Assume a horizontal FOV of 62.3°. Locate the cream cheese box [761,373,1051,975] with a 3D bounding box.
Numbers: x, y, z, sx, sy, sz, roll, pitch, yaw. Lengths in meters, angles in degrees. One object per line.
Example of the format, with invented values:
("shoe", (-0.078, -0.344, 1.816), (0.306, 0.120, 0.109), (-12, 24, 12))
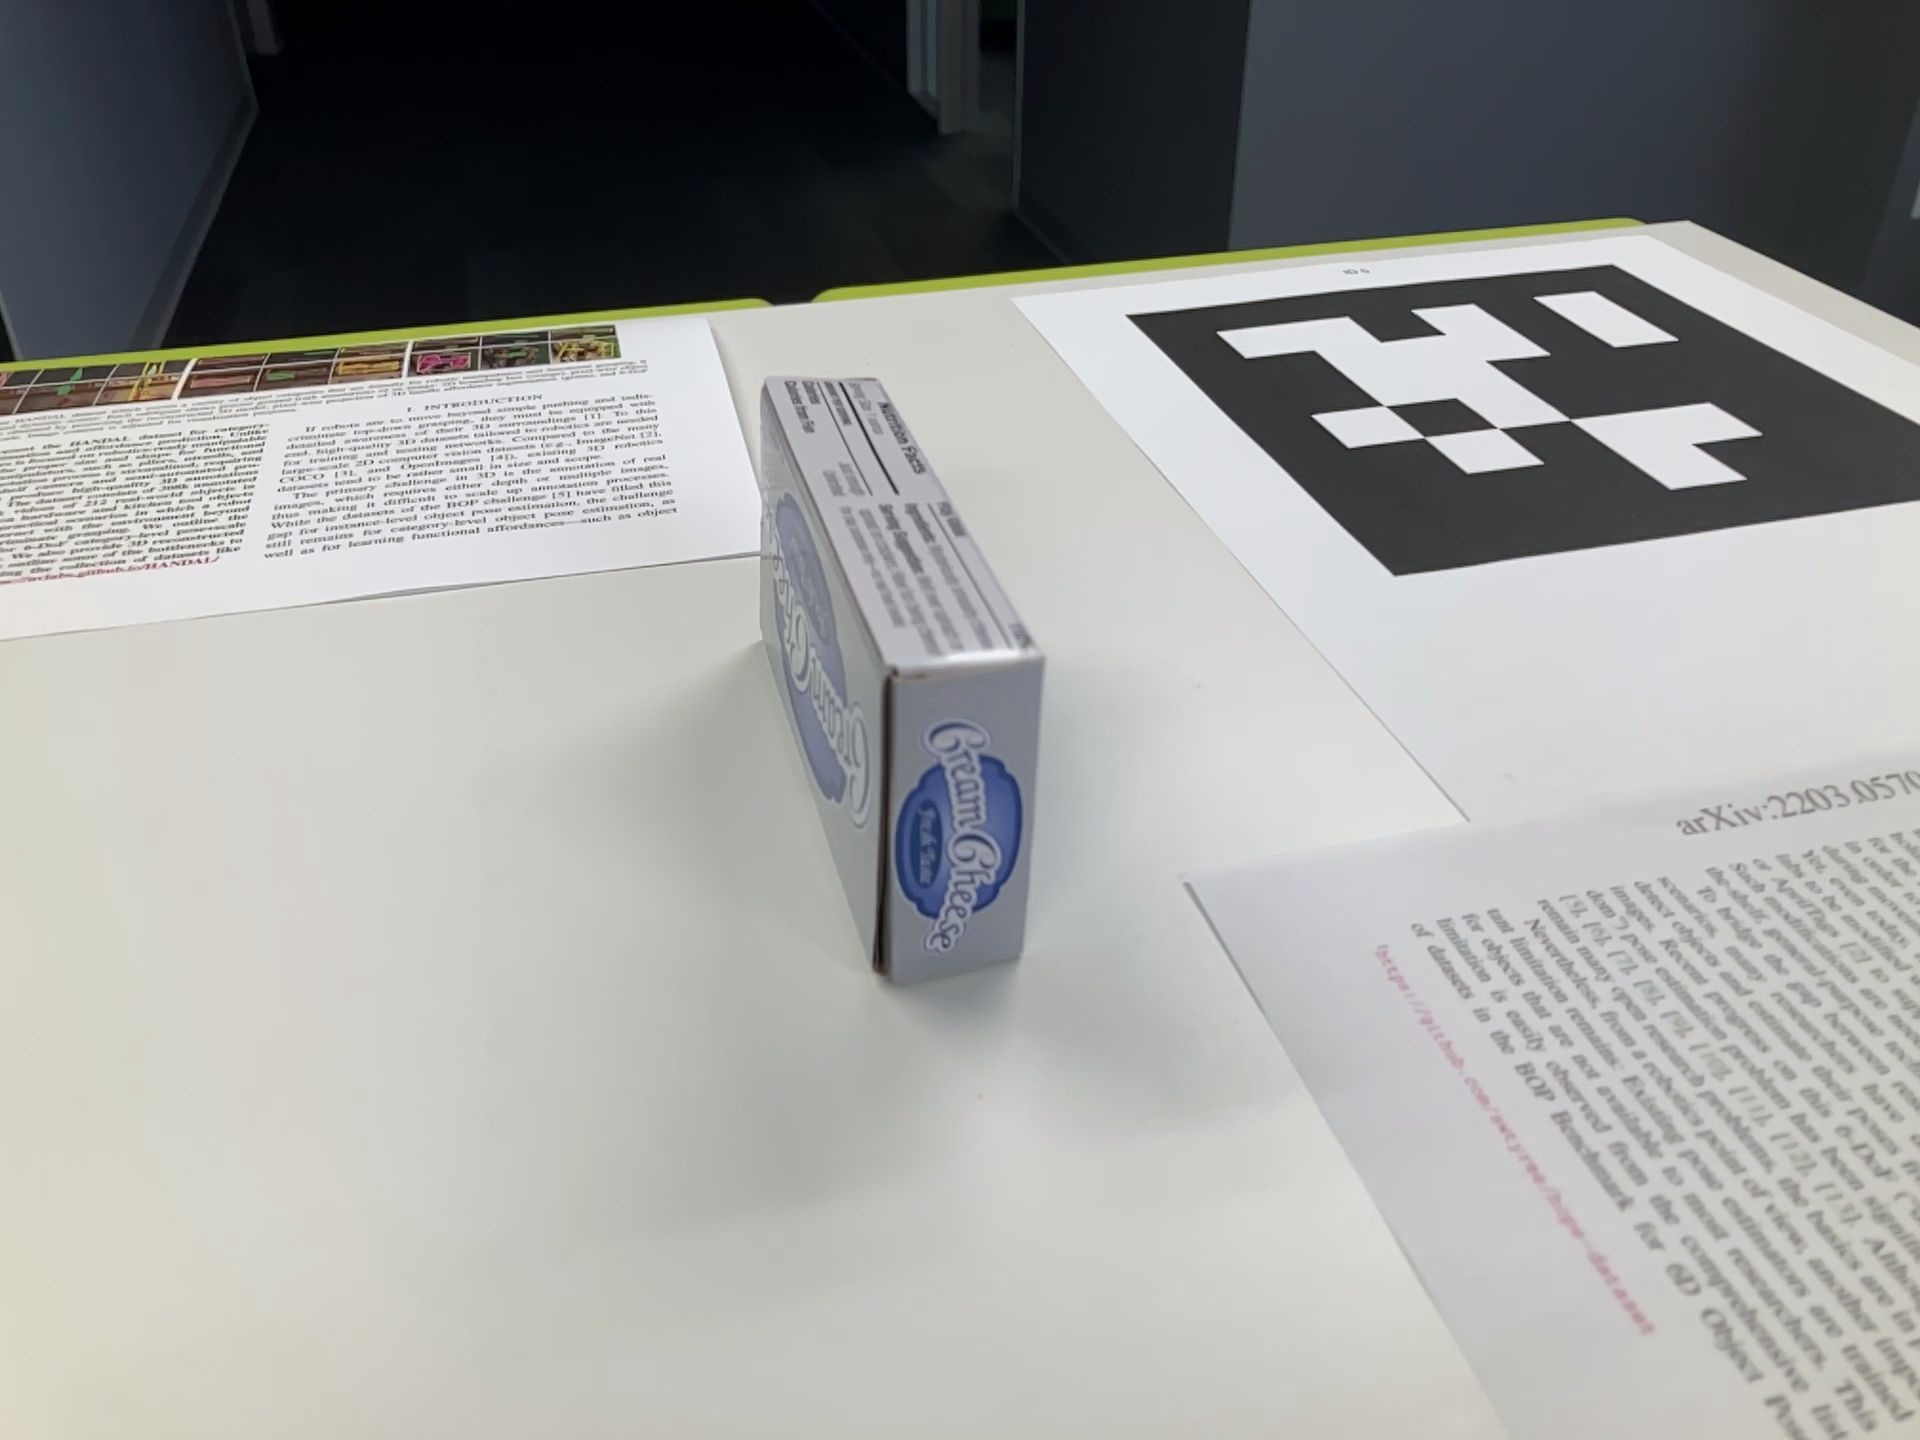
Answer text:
("cream cheese box", (-0.013, -0.013, 0.258), (0.024, 0.053, 0.104), (-7, 35, -14))
